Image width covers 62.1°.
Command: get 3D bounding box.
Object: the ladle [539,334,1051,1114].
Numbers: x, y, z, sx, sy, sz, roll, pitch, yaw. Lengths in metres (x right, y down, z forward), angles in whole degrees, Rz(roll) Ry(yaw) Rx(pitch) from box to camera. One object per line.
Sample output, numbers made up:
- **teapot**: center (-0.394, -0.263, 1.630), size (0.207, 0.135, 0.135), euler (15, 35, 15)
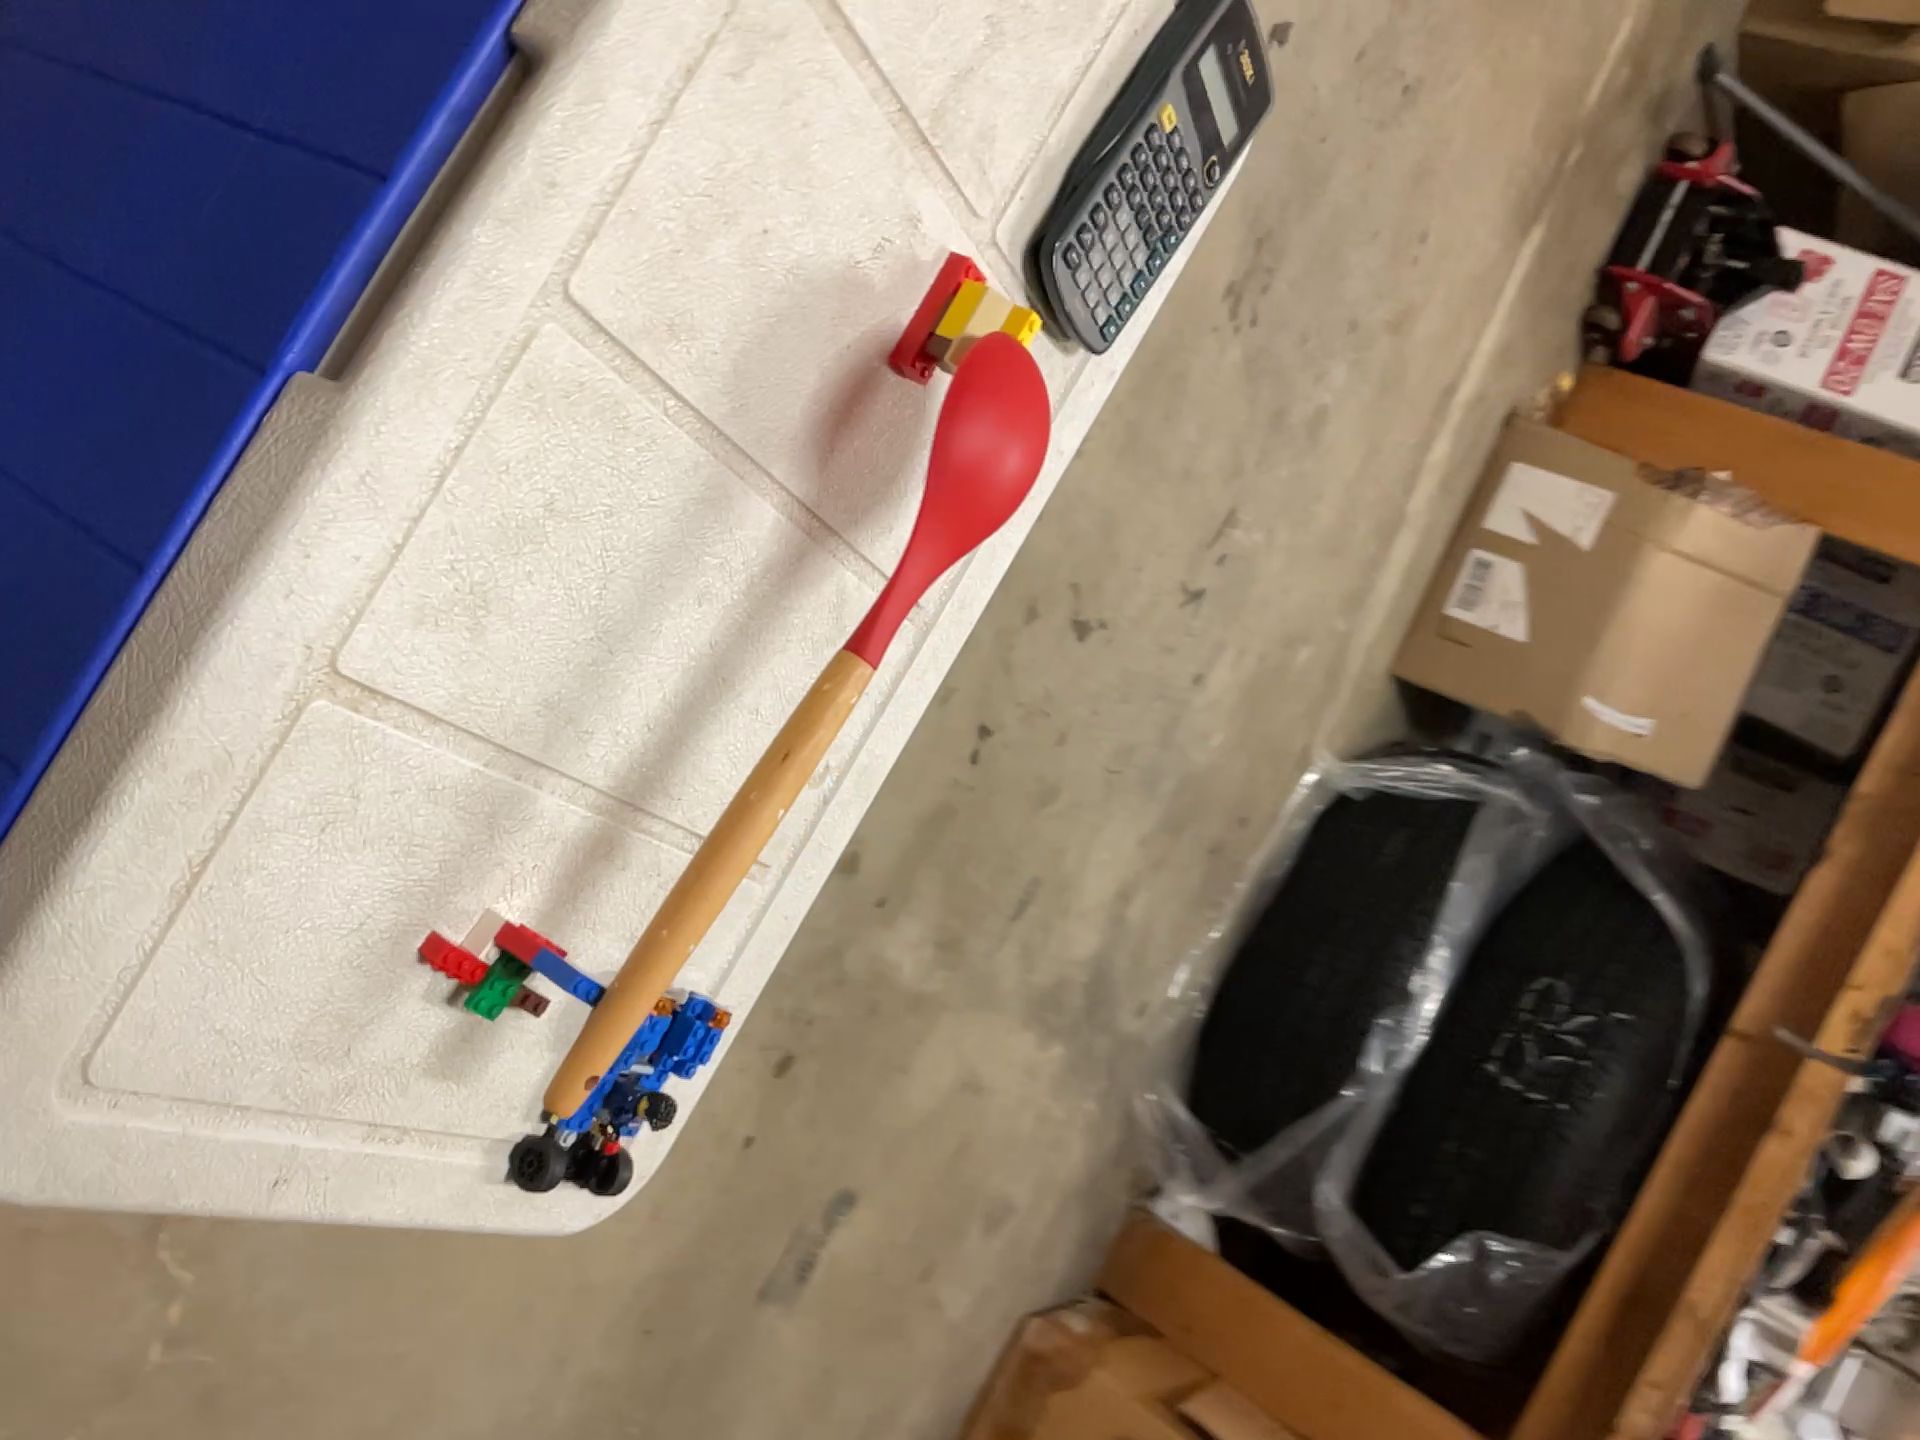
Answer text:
- **ladle**: center (-0.052, -0.001, 0.559), size (0.315, 0.031, 0.069), euler (-57, 150, -9)
